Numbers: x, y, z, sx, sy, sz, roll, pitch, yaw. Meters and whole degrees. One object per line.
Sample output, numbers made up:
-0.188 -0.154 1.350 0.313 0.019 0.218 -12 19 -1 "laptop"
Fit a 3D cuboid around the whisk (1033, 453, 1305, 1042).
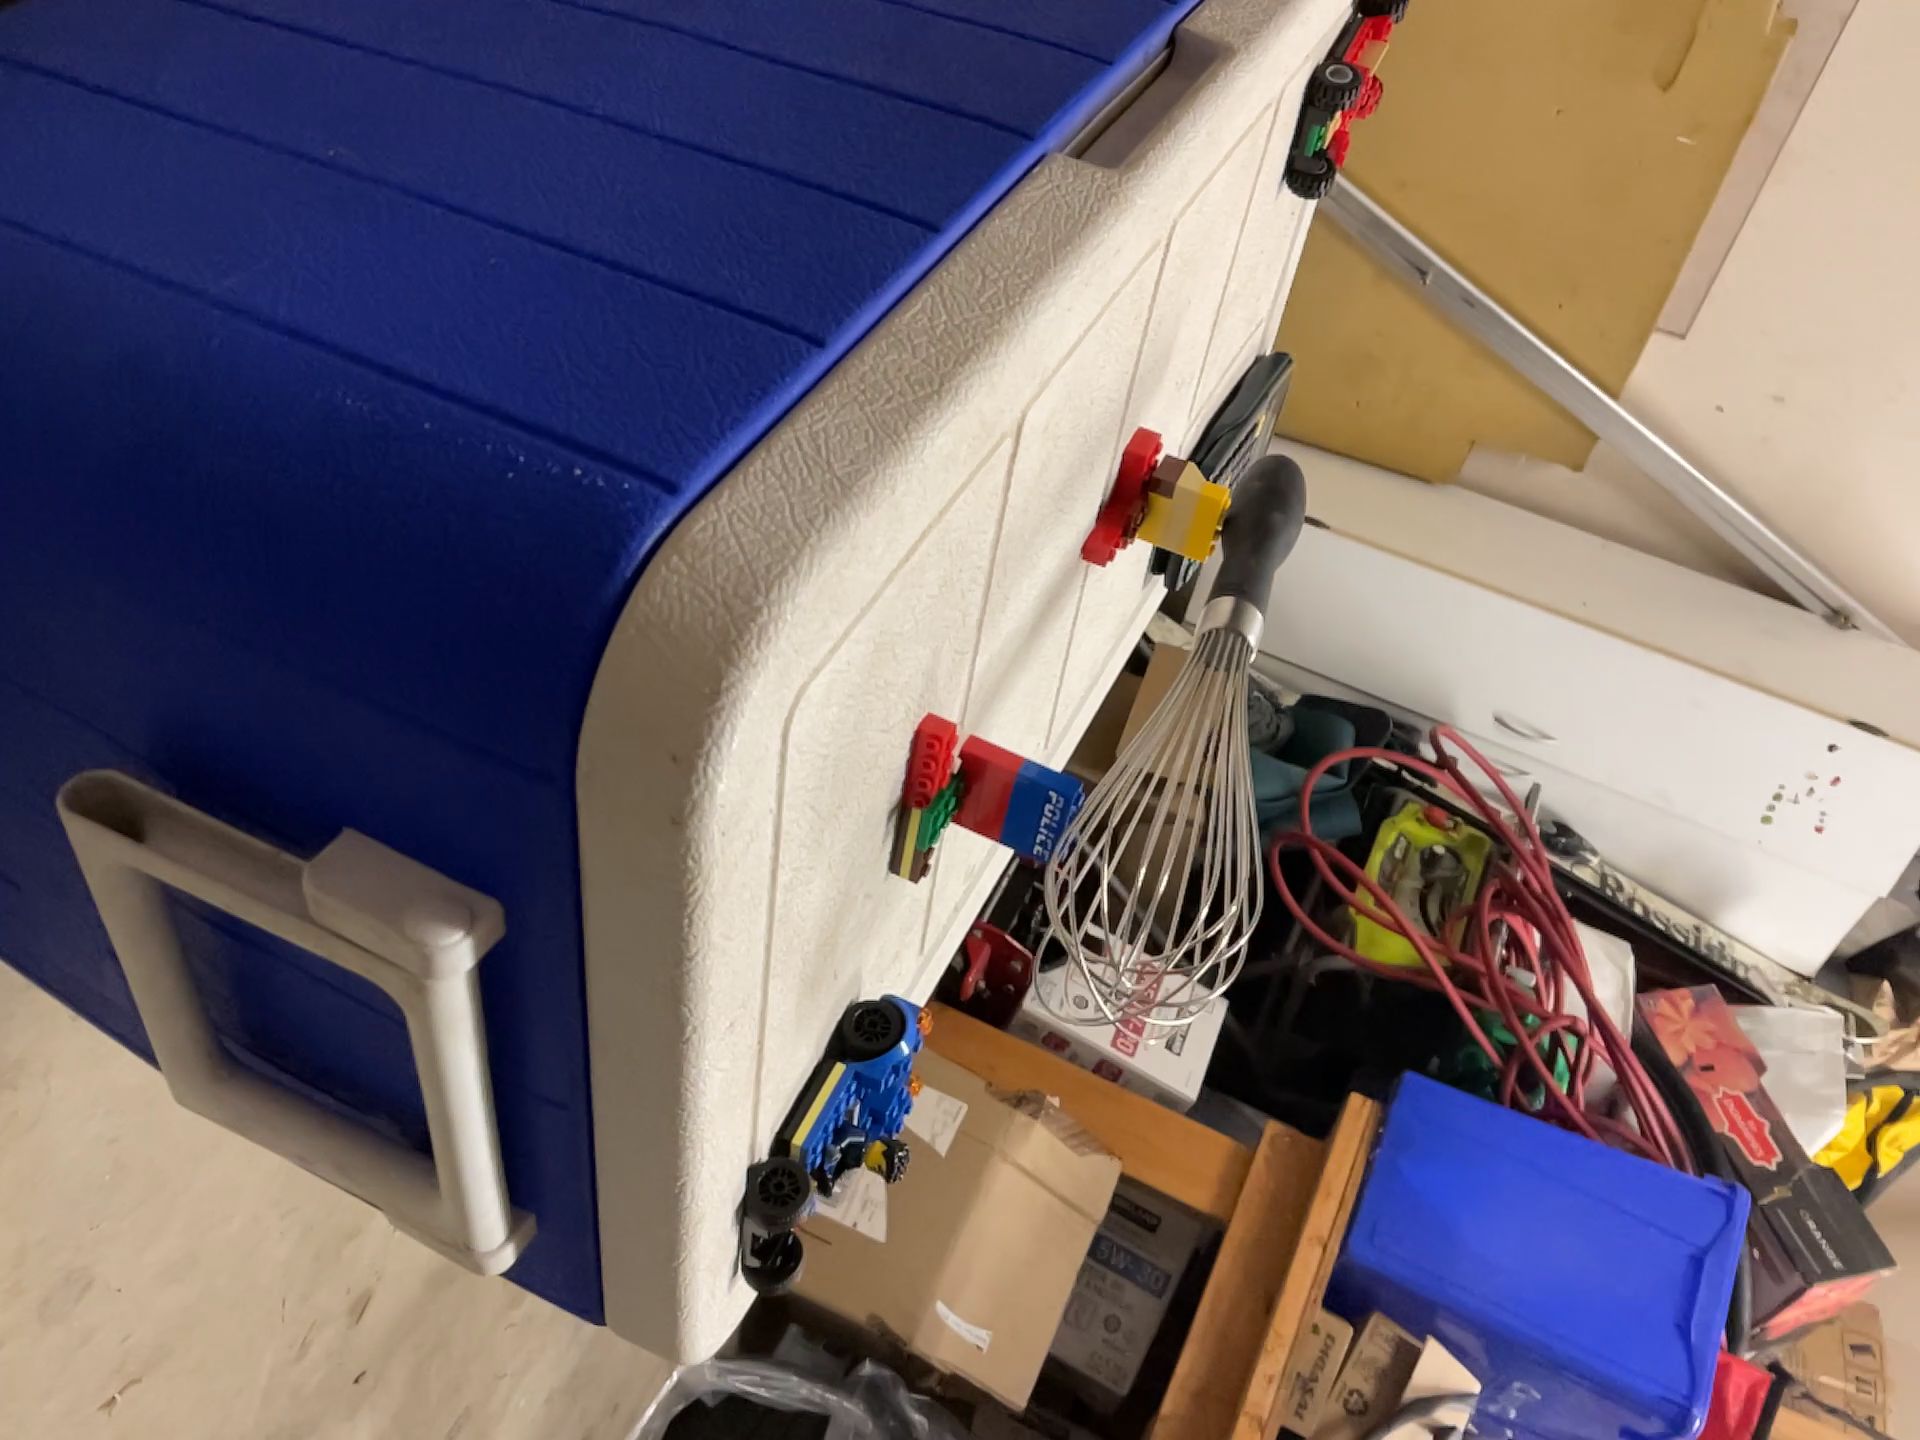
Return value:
0.085 -0.009 0.543 0.070 0.070 0.285 93 16 -45 "whisk"
